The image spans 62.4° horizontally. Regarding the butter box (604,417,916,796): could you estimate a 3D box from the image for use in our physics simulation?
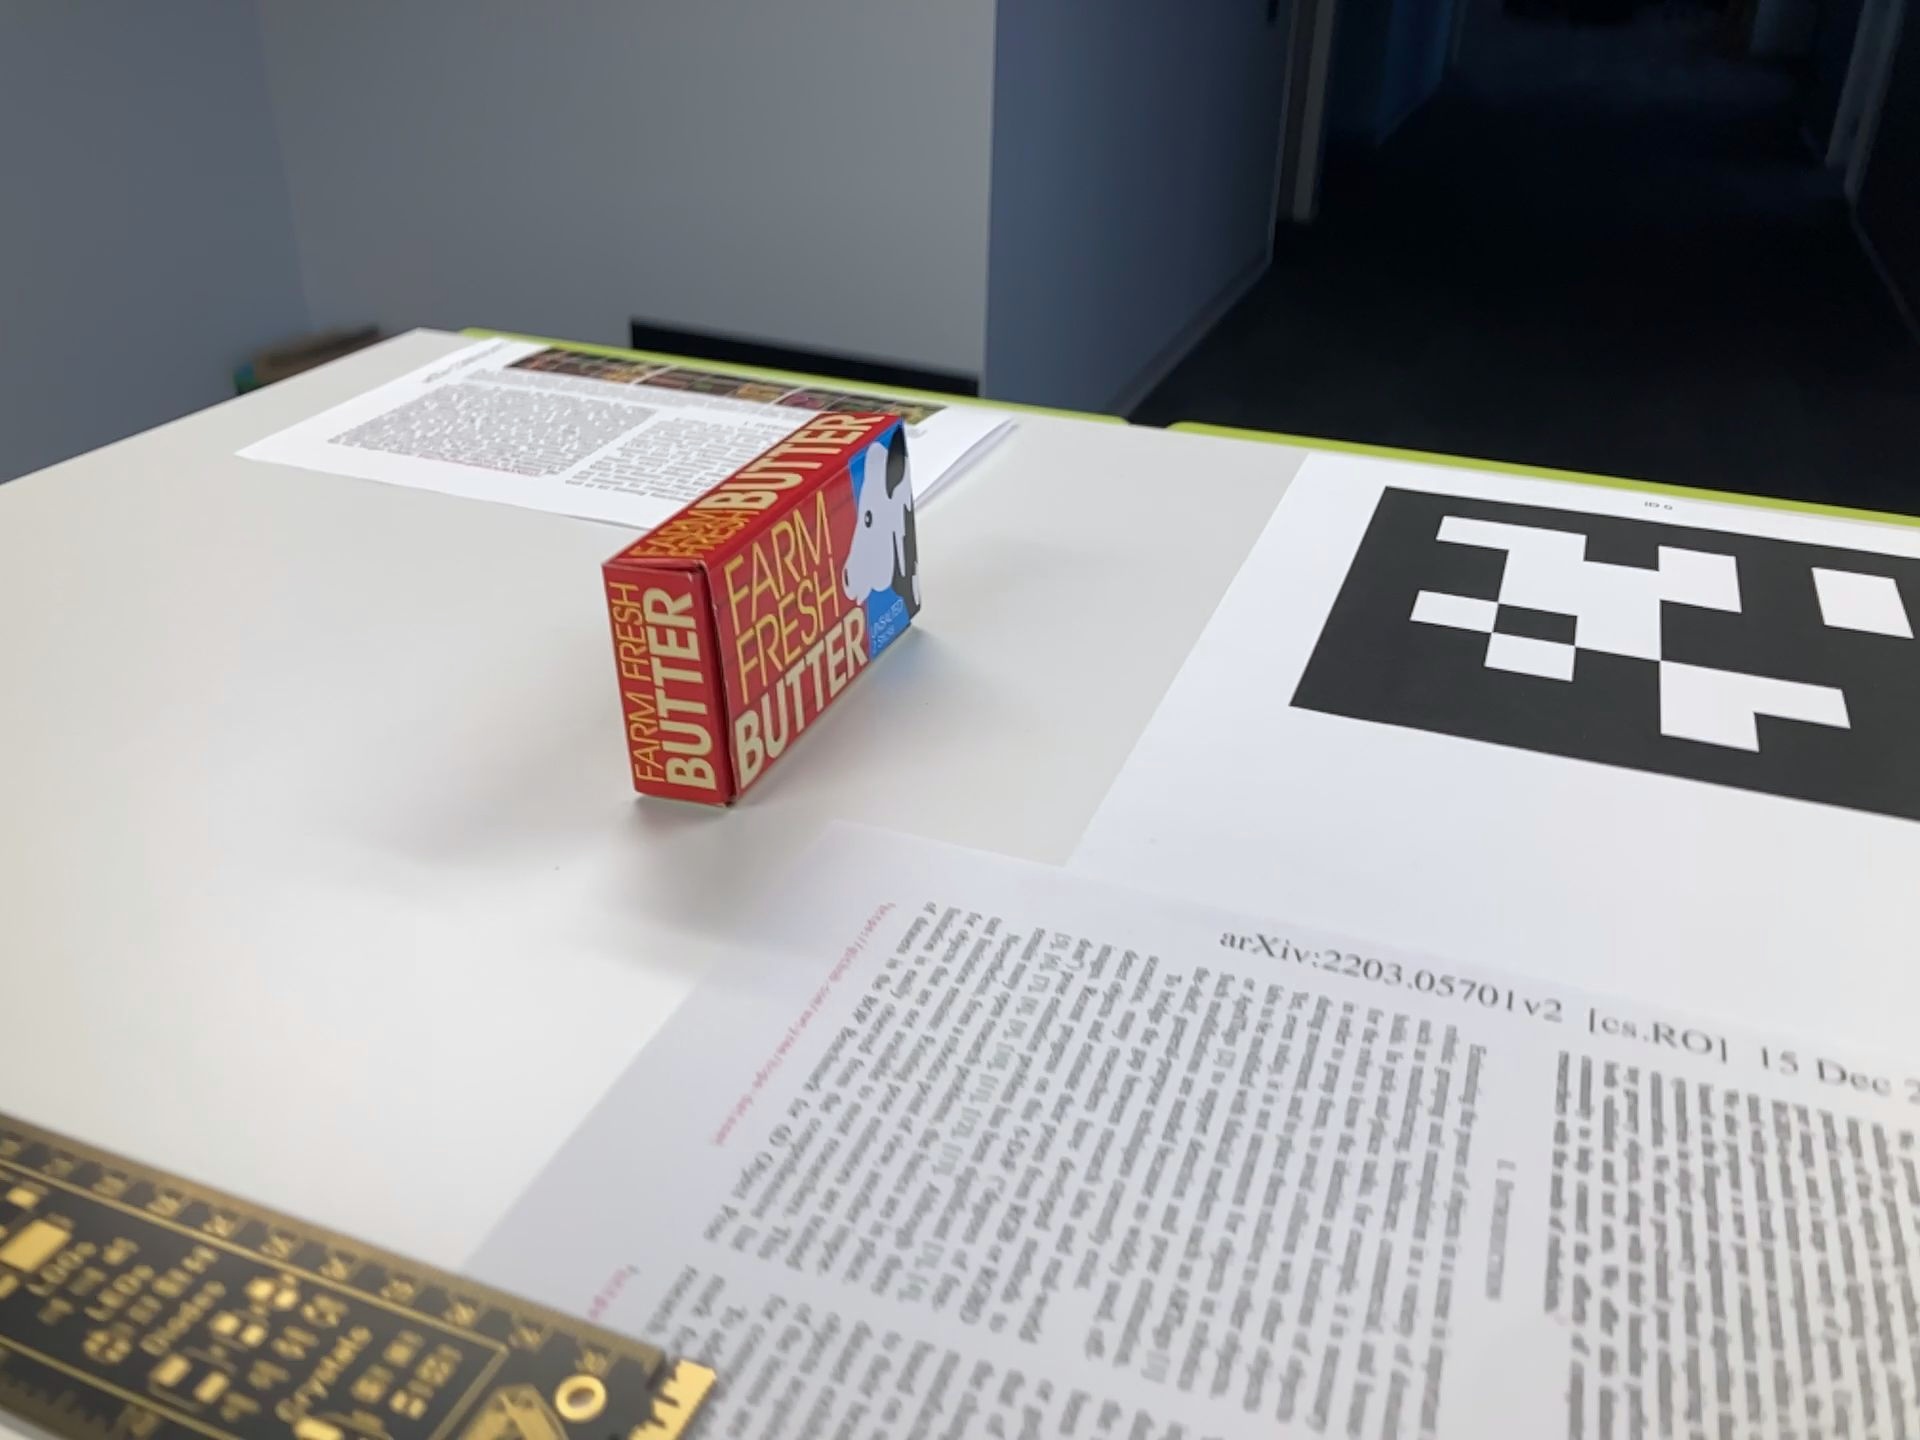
[{"bbox_3d":[-0.040,-0.030,0.360,0.024,0.053,0.103,7,28,20],"label":"butter box"}]
